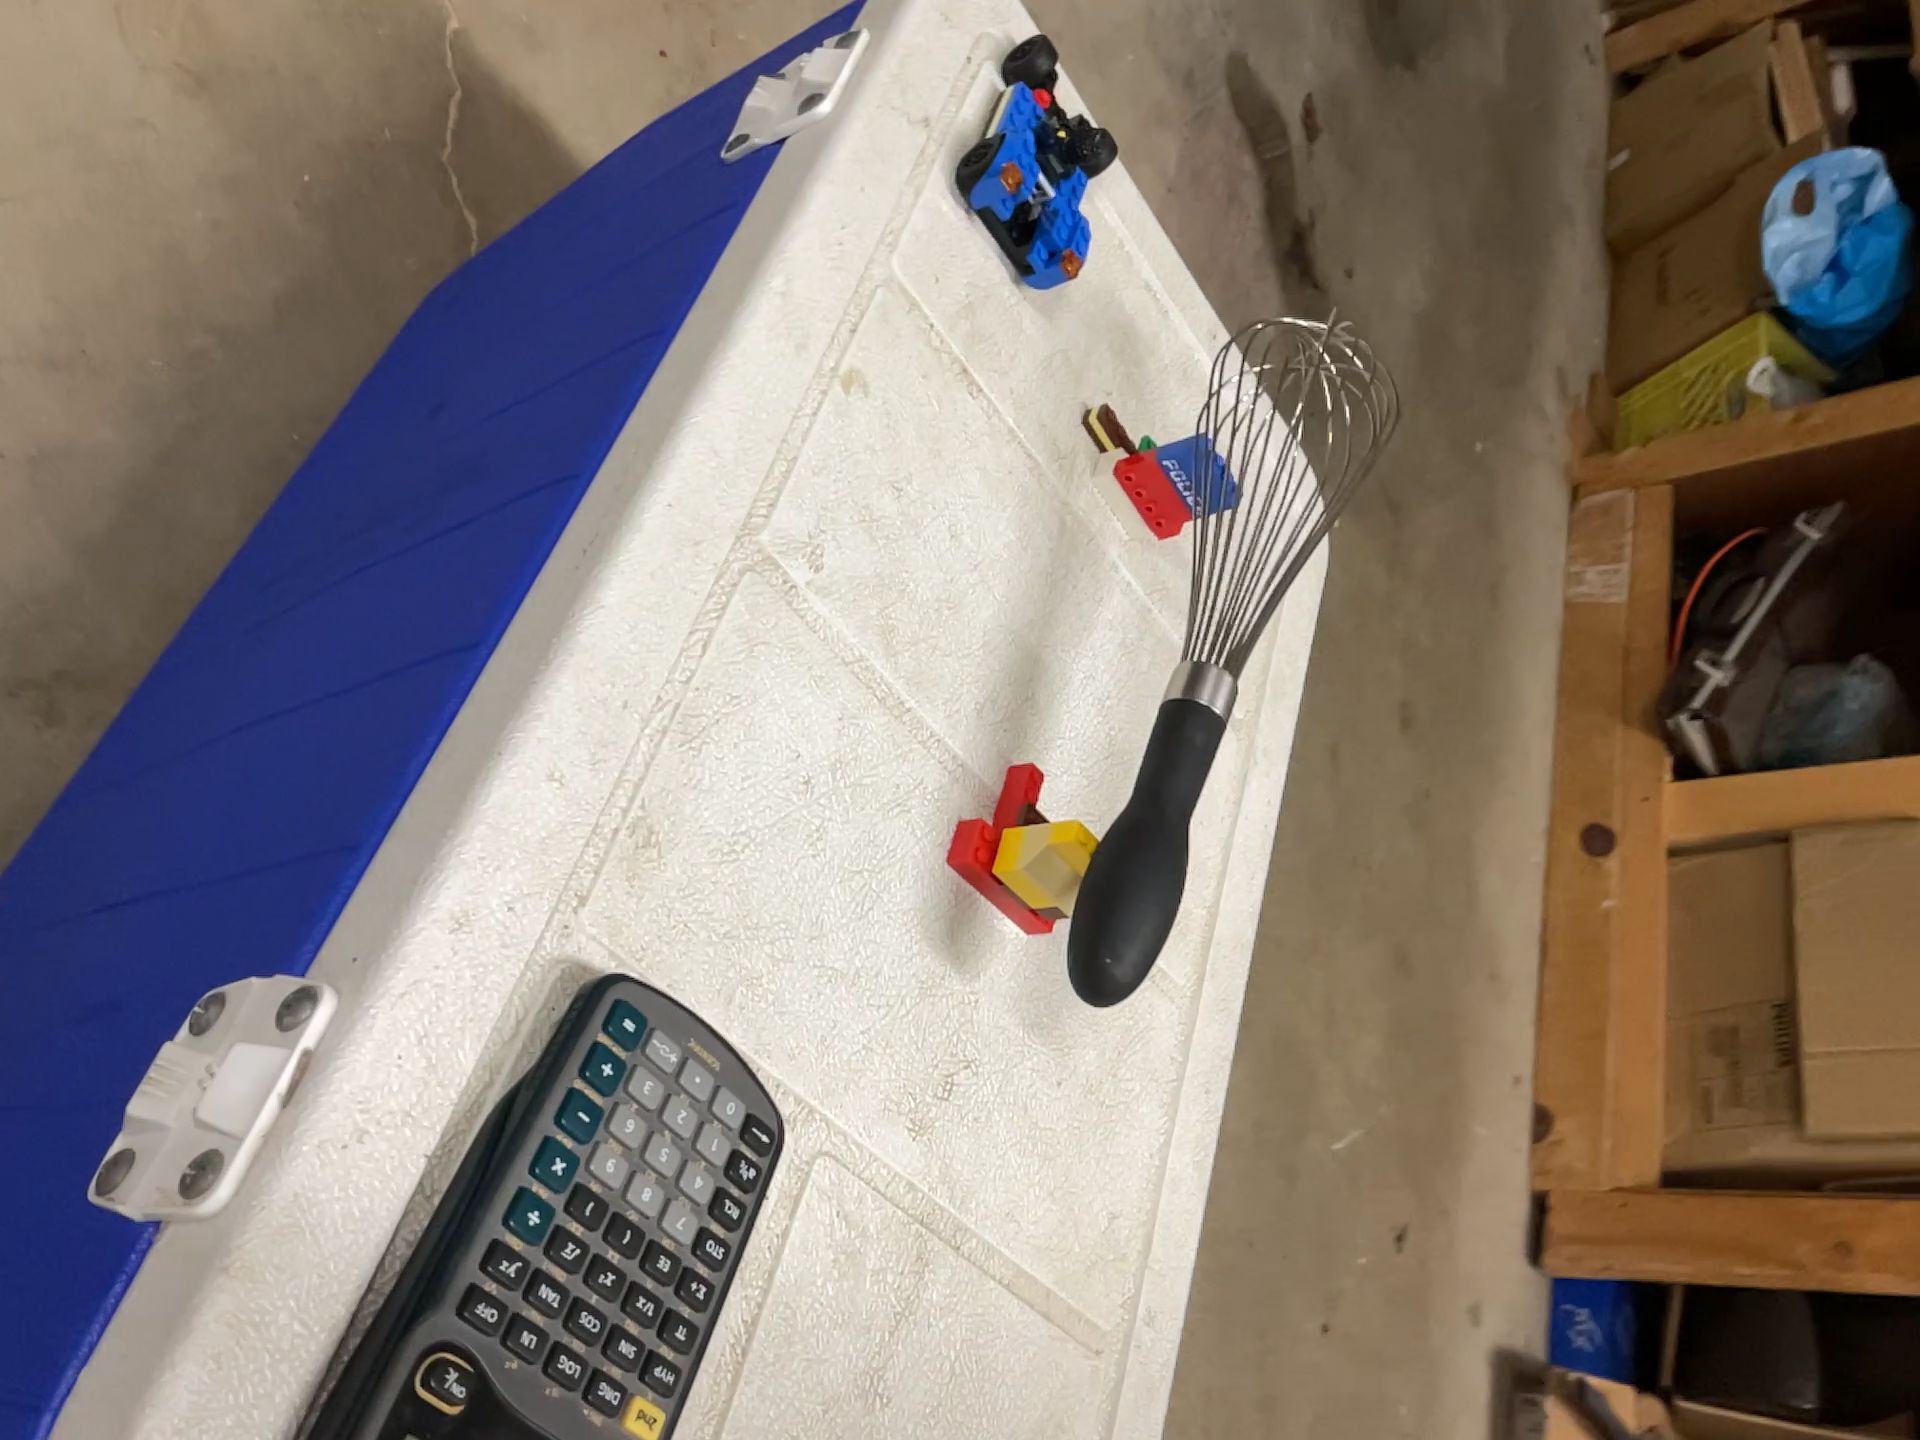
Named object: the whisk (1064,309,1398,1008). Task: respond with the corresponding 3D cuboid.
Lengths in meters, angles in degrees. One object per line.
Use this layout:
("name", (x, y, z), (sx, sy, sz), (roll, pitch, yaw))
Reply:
("whisk", (0.089, -0.032, 0.531), (0.070, 0.070, 0.285), (50, 51, -39))
